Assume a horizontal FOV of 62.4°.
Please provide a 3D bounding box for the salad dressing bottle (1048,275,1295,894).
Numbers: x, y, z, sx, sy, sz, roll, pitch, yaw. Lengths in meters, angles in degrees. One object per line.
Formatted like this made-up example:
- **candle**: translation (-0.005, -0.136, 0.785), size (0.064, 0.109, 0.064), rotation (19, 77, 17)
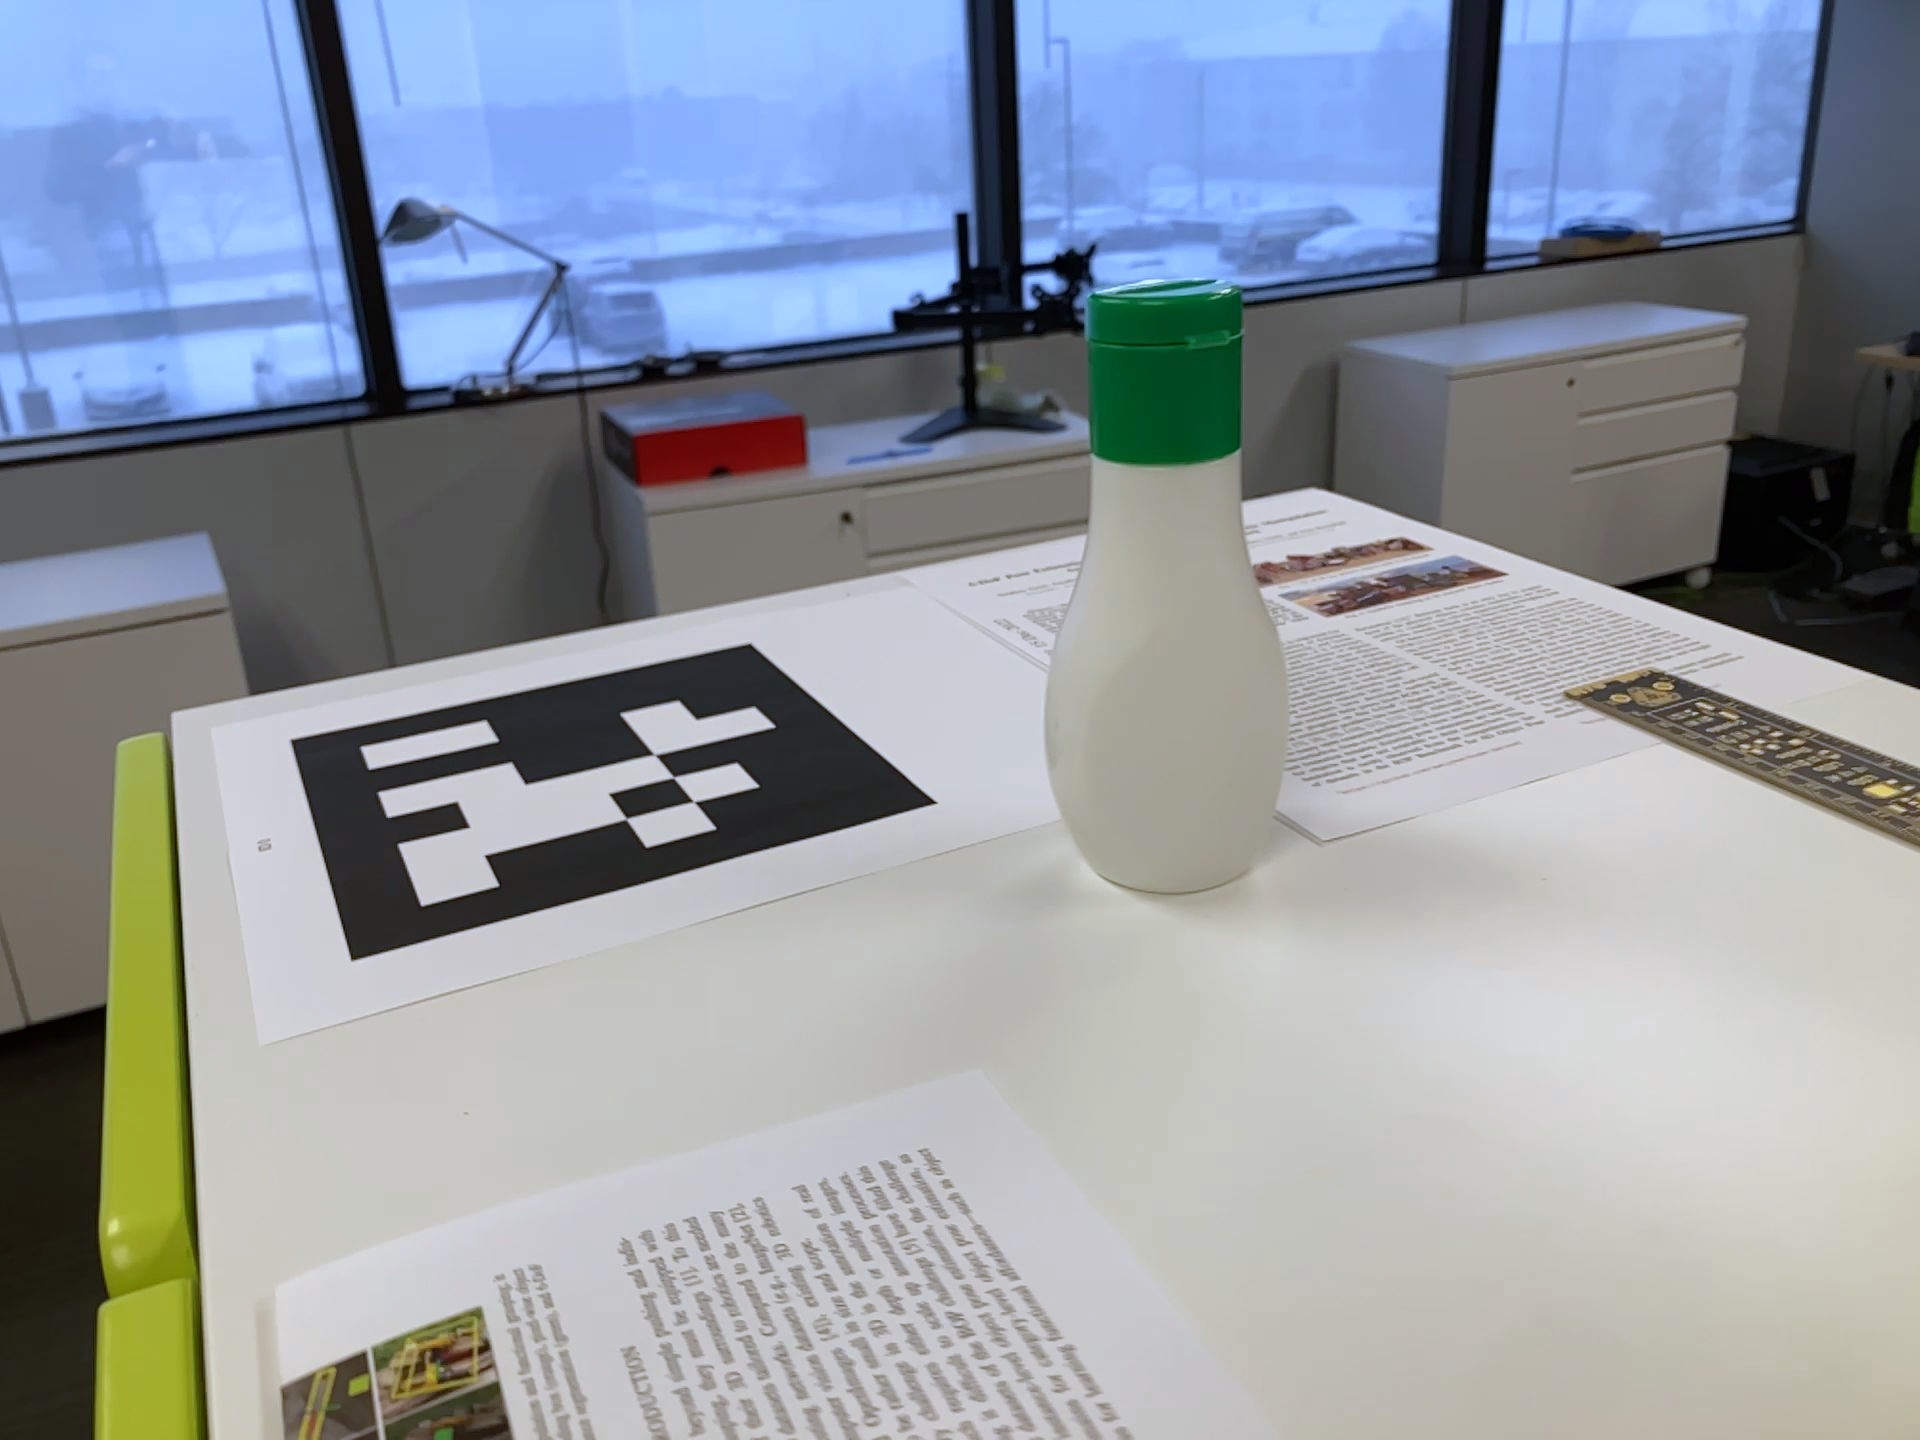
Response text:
- **salad dressing bottle**: translation (0.052, -0.032, 0.391), size (0.064, 0.147, 0.044), rotation (-12, 24, -23)
